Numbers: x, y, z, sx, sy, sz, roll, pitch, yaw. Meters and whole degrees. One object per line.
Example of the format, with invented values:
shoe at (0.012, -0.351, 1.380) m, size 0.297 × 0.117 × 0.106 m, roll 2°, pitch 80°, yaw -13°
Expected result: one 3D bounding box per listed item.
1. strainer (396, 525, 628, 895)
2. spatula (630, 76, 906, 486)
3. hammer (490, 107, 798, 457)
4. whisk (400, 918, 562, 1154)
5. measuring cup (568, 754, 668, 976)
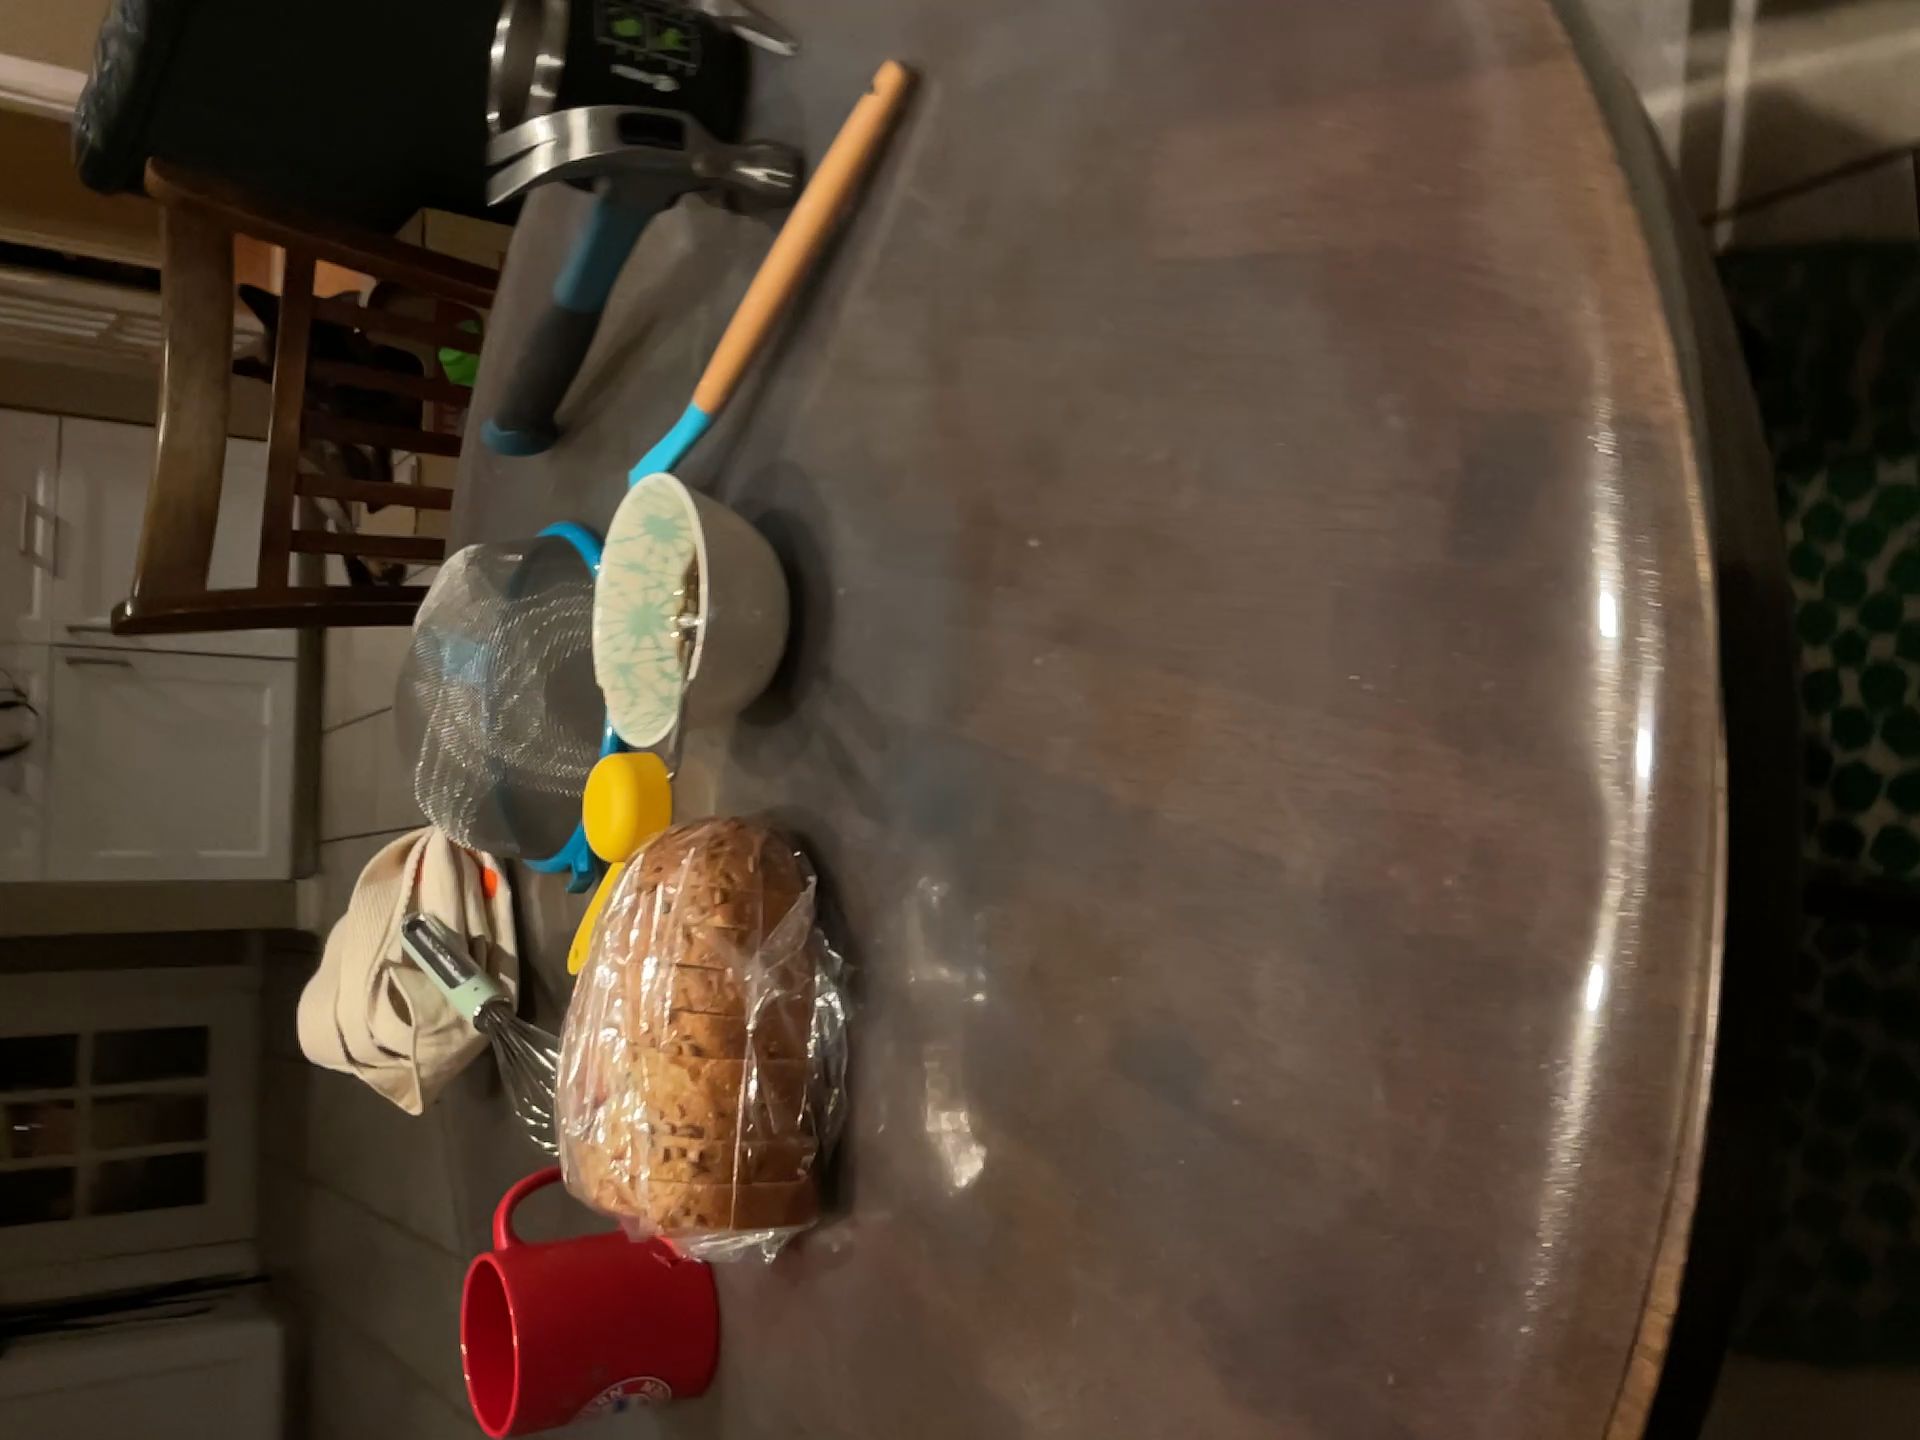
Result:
strainer at (-0.312, -0.026, 0.989) m, size 0.340 × 0.095 × 0.211 m, roll 17°, pitch 100°, yaw 51°
spatula at (-0.101, -0.164, 0.761) m, size 0.317 × 0.044 × 0.082 m, roll -51°, pitch 47°, yaw 35°
hammer at (-0.201, -0.219, 0.855) m, size 0.331 × 0.128 × 0.033 m, roll 148°, pitch 122°, yaw -60°
whisk at (-0.265, 0.173, 0.916) m, size 0.246 × 0.058 × 0.059 m, roll 29°, pitch 141°, yaw 44°
measuring cup at (-0.198, 0.084, 0.867) m, size 0.156 × 0.029 × 0.062 m, roll -61°, pitch 41°, yaw 30°
